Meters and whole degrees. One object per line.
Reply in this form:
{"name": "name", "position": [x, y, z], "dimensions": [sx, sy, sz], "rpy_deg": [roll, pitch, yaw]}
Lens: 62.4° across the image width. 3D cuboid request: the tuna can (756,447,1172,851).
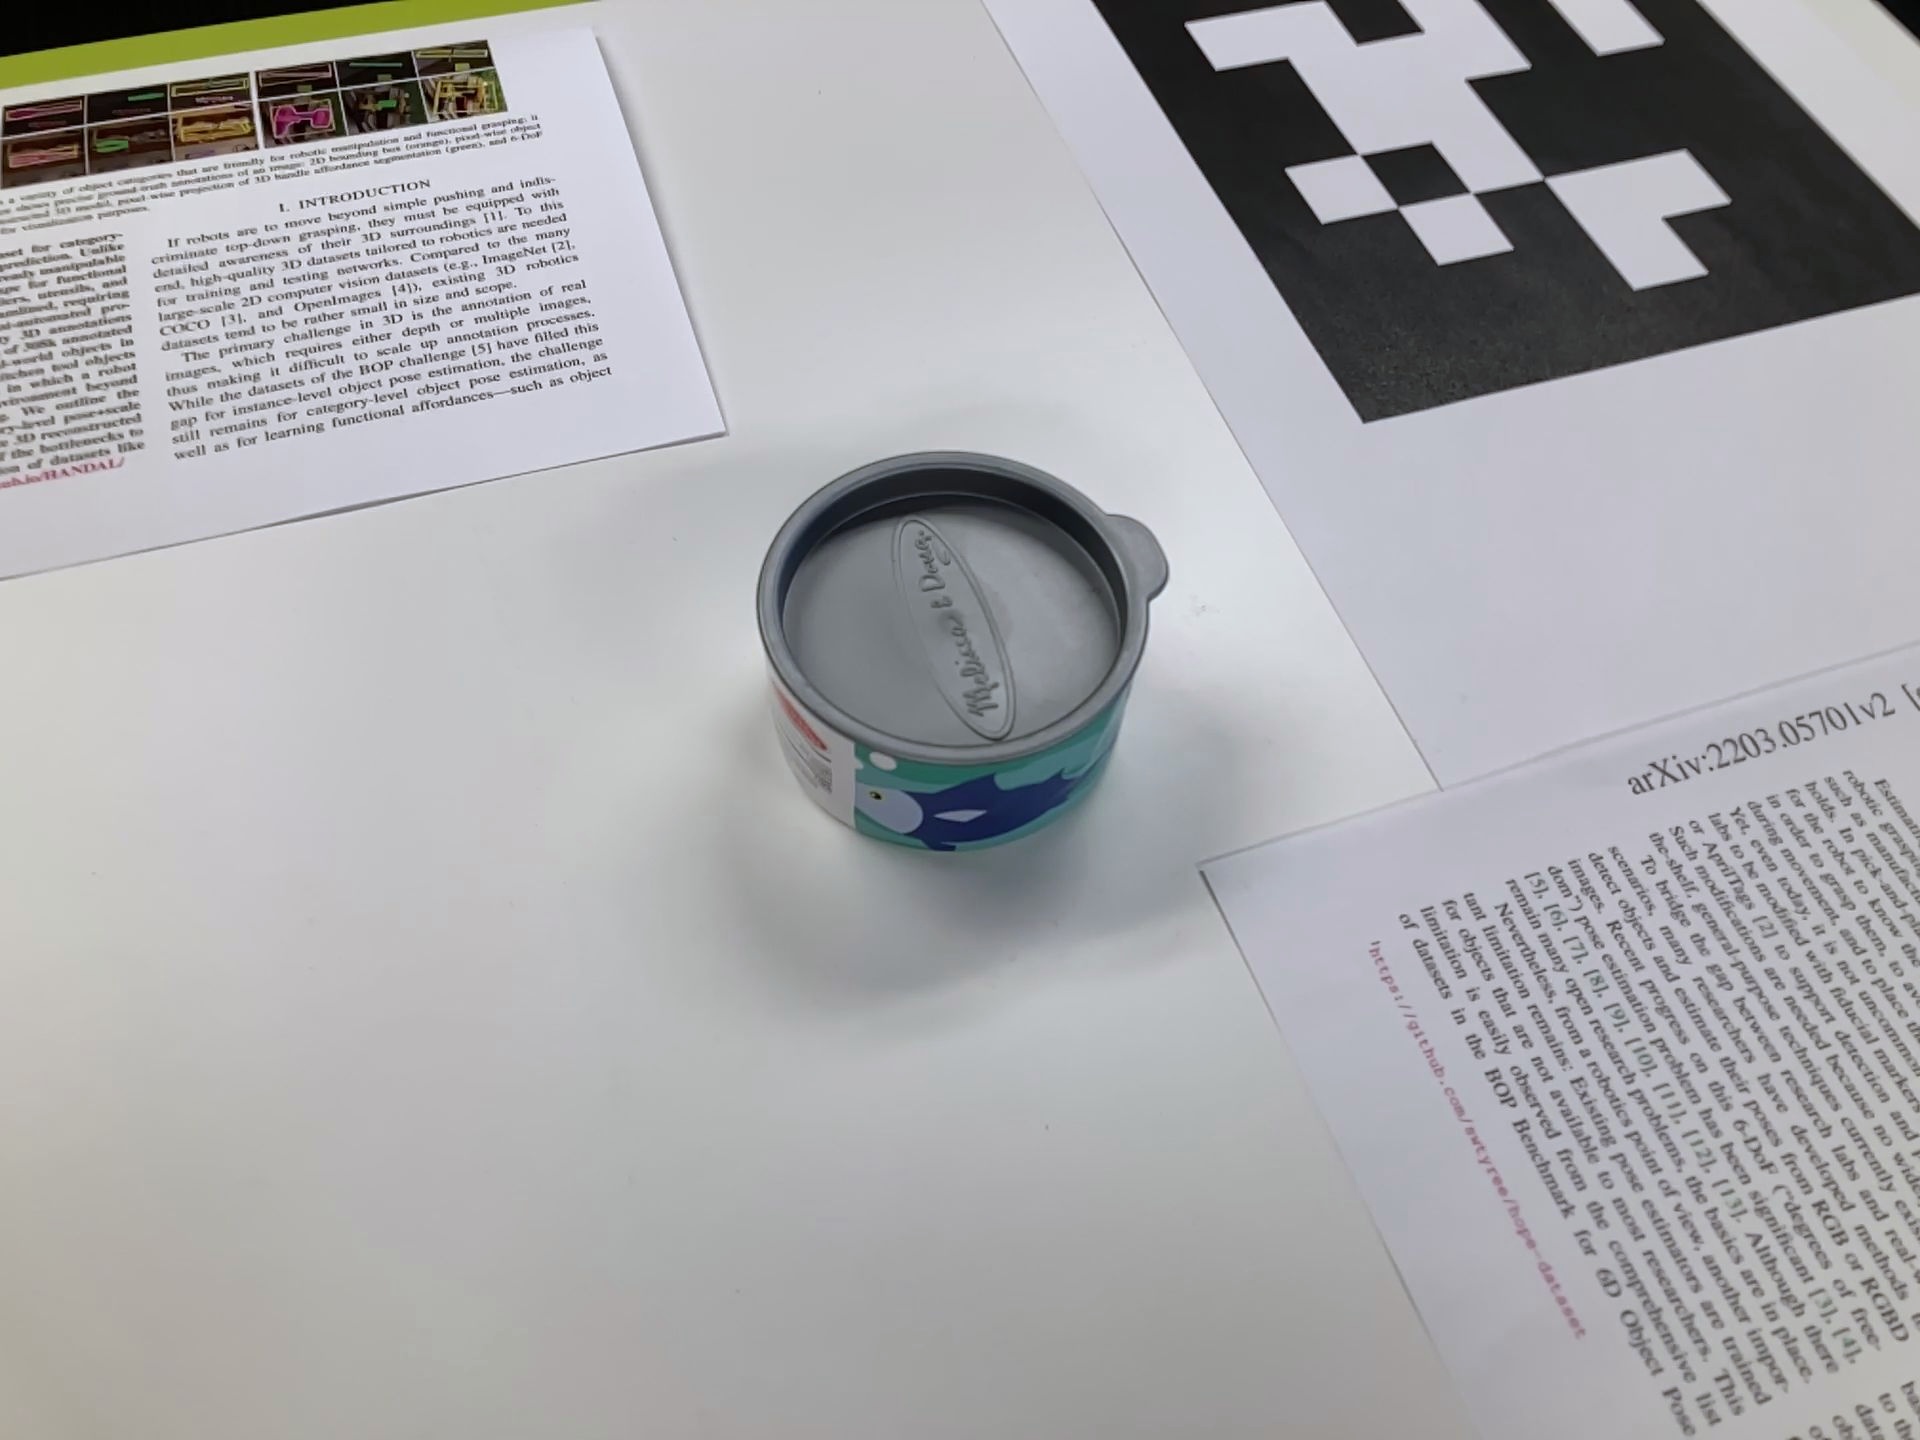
{"name": "tuna can", "position": [0.001, -0.013, 0.279], "dimensions": [0.071, 0.033, 0.071], "rpy_deg": [2, 56, -2]}
